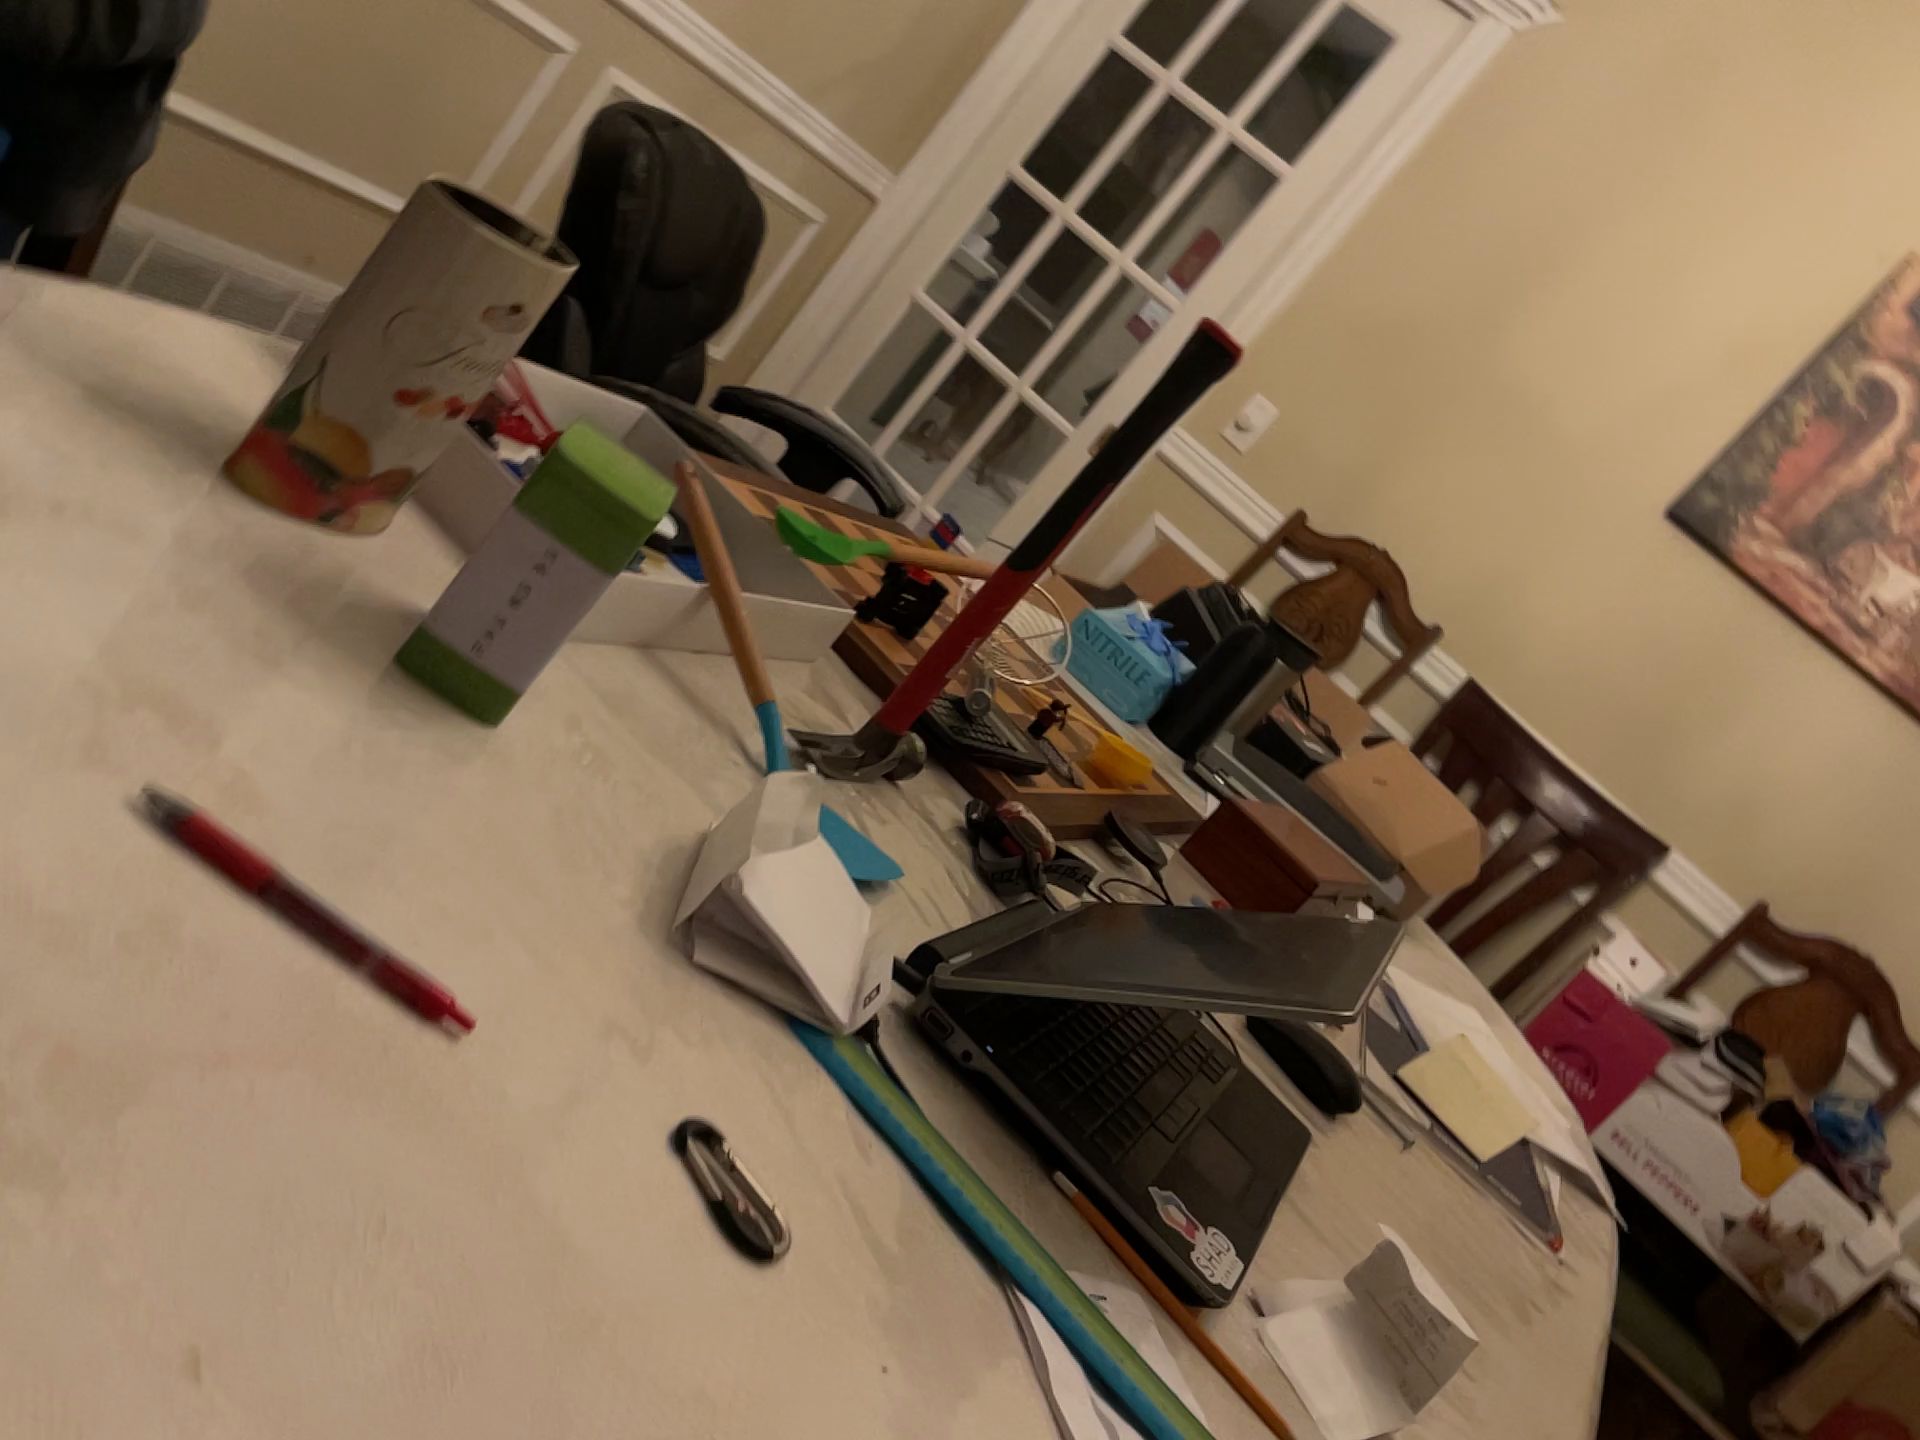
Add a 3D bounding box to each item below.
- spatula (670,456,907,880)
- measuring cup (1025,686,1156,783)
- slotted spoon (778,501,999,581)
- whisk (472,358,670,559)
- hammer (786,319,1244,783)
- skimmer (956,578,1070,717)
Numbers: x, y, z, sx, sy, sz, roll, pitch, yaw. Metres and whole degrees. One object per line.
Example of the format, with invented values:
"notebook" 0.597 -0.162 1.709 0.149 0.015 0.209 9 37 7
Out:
"spatula" -0.122 -0.036 1.001 0.082 0.044 0.318 11 53 -60
"measuring cup" 0.121 0.014 1.559 0.157 0.029 0.062 33 13 22
"slotted spoon" -0.046 -0.141 1.364 0.313 0.031 0.070 5 35 -52
"whisk" -0.290 -0.198 1.076 0.295 0.073 0.073 46 24 -46
"hammer" 0.040 -0.108 1.050 0.038 0.386 0.143 47 15 22
"skimmer" 0.043 -0.066 1.420 0.127 0.090 0.363 42 10 -4
